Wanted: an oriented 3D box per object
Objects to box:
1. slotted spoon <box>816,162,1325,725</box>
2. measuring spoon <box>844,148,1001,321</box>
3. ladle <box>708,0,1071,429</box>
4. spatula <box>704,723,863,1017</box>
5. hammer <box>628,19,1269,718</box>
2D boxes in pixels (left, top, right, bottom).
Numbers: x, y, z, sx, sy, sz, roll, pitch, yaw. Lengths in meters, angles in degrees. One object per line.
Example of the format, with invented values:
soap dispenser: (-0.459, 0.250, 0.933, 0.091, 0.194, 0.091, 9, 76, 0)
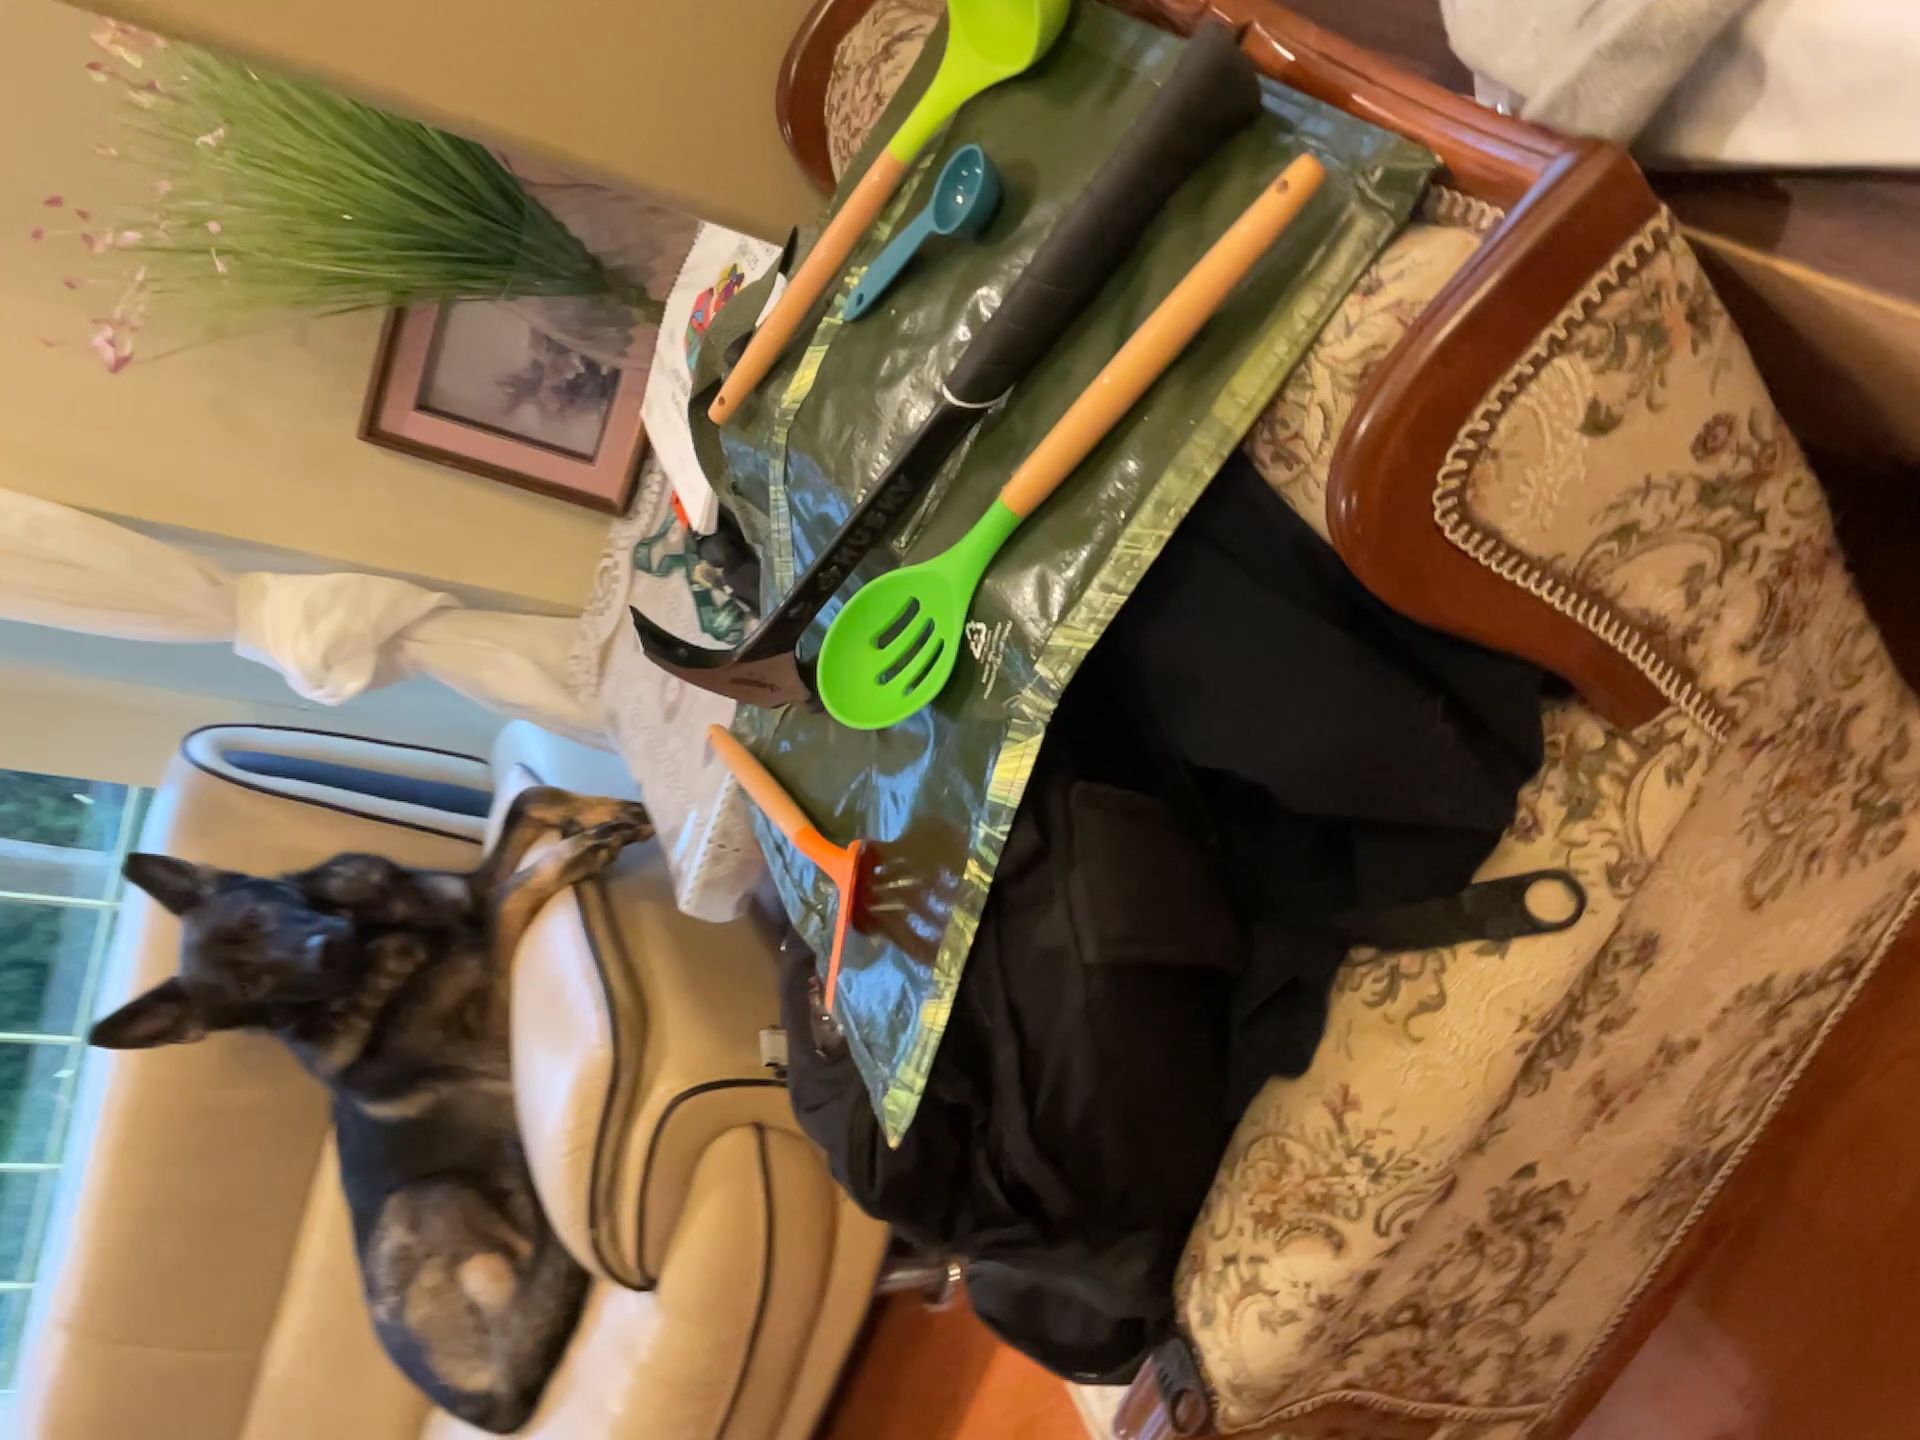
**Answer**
slotted spoon: (0.040, -0.108, 0.676, 0.314, 0.031, 0.070, -46, 59, 29)
measuring spoon: (-0.017, -0.231, 0.781, 0.129, 0.021, 0.042, -31, 53, 49)
ladle: (-0.053, -0.267, 0.810, 0.320, 0.062, 0.078, -46, 69, 32)
spatula: (-0.104, 0.058, 0.896, 0.323, 0.041, 0.081, 38, 121, 59)
hammer: (-0.006, -0.143, 0.736, 0.409, 0.149, 0.036, -47, 52, 32)
